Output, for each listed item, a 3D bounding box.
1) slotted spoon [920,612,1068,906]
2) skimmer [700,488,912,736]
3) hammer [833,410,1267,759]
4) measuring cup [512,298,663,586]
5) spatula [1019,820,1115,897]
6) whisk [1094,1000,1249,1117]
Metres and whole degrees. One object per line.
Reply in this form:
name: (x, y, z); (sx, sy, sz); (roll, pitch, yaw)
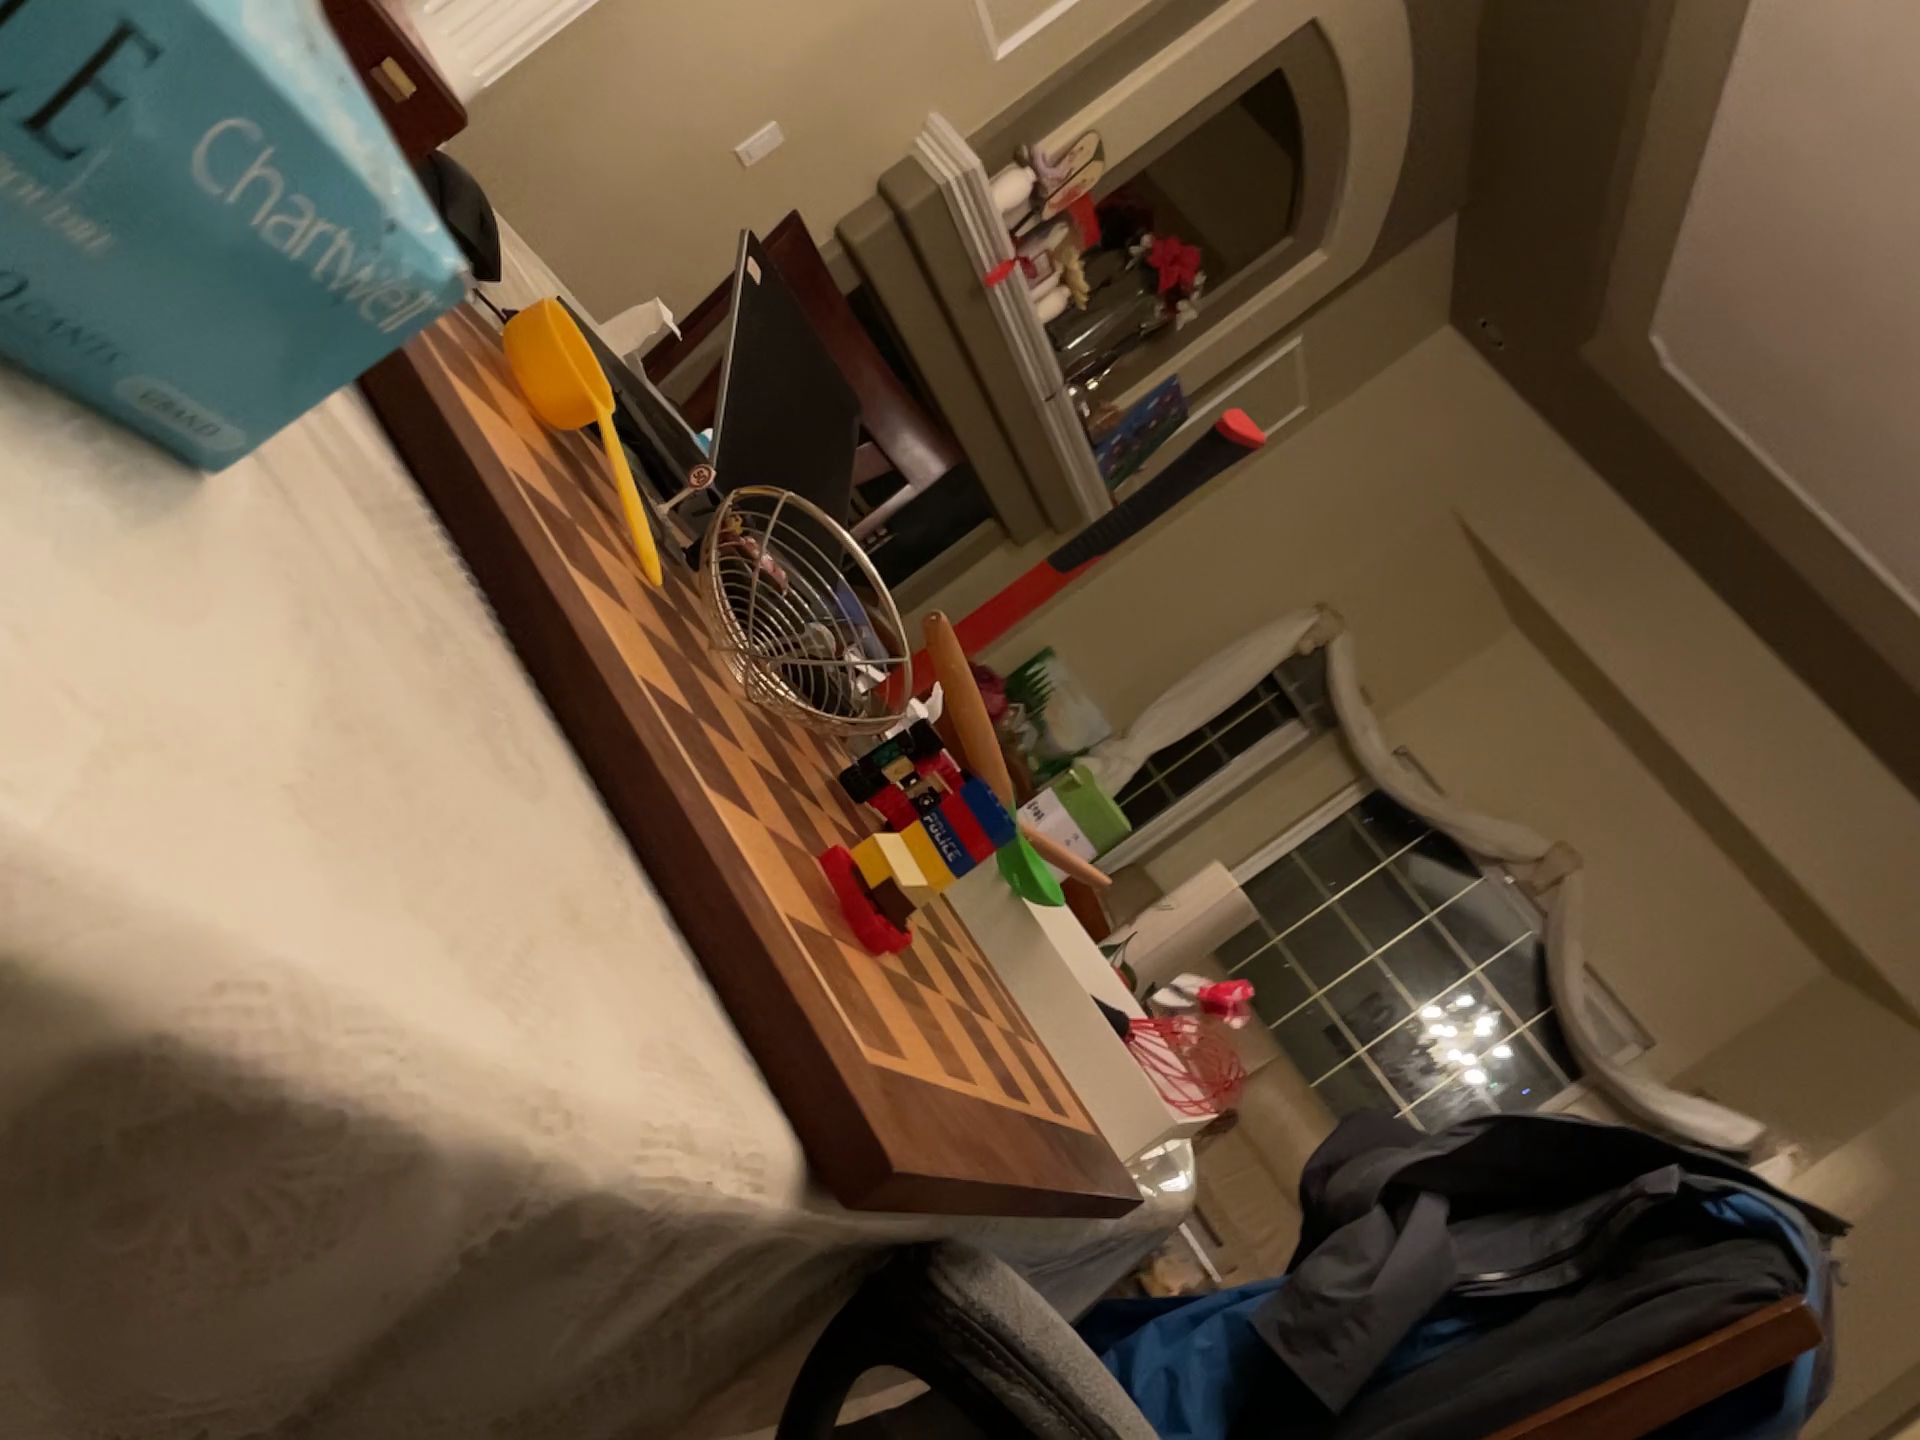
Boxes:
slotted spoon: (0.018, 0.030, 0.903); (0.070, 0.031, 0.313); (58, -5, 33)
skimmer: (-0.063, -0.056, 0.853); (0.127, 0.090, 0.363); (52, 6, -1)
hammer: (0.067, -0.098, 1.199); (0.038, 0.386, 0.143); (55, 2, 25)
measuring cup: (-0.170, -0.123, 0.726); (0.062, 0.029, 0.157); (58, 10, -68)
spatula: (0.000, 0.049, 1.288); (0.318, 0.044, 0.082); (32, -10, 26)
whisk: (0.129, 0.240, 1.203); (0.295, 0.073, 0.073); (34, -4, -40)
